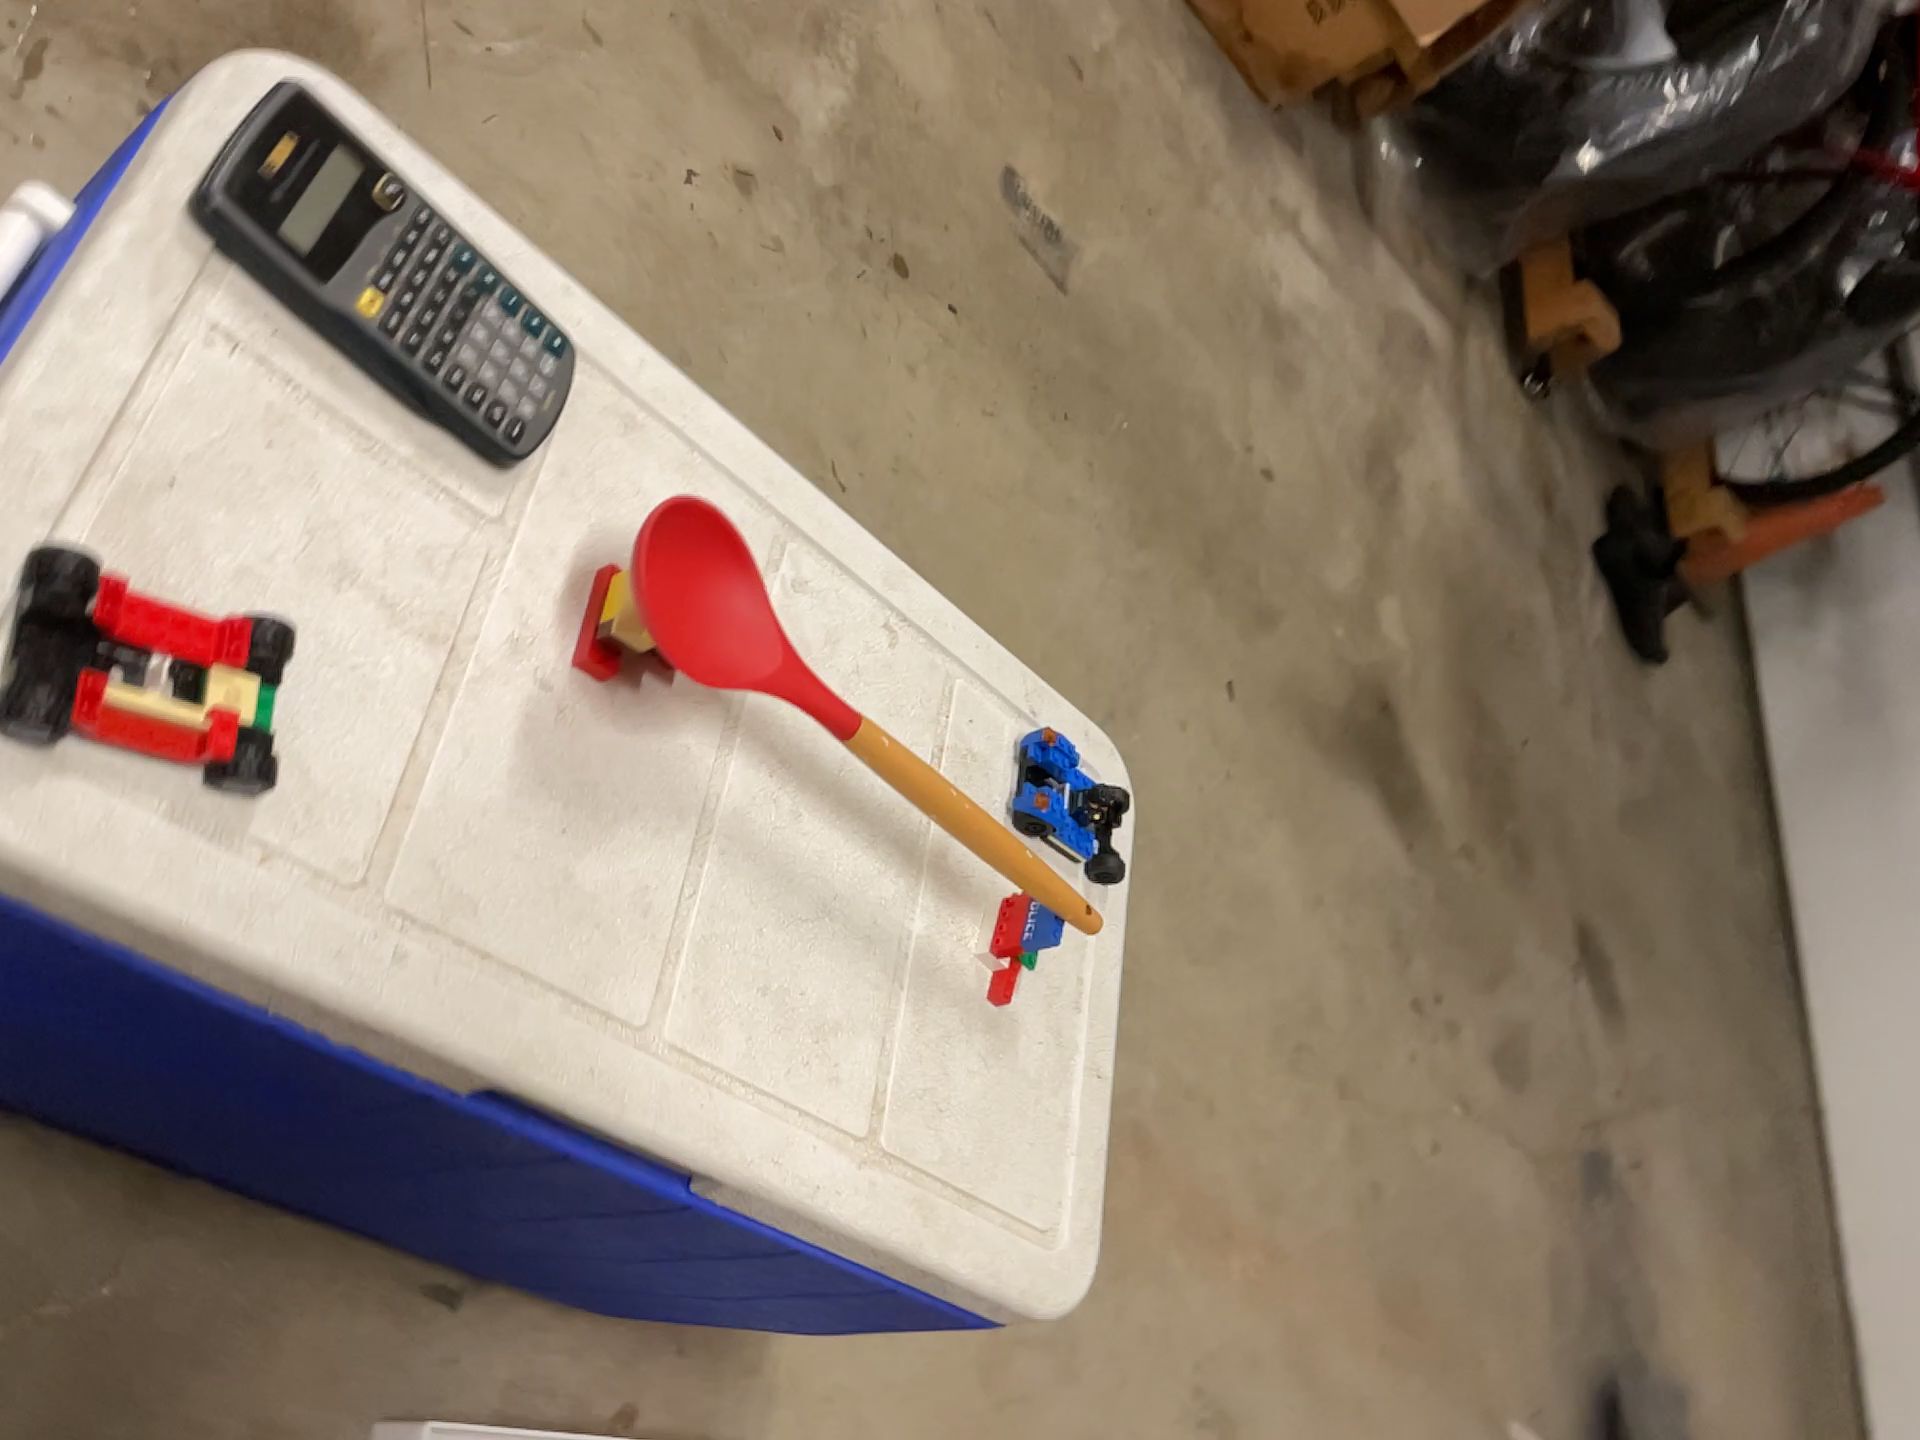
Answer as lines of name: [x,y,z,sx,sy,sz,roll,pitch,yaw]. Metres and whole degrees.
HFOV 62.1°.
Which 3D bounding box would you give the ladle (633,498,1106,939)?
ladle: [-0.029,0.016,0.690,0.315,0.031,0.069,42,50,-35]
